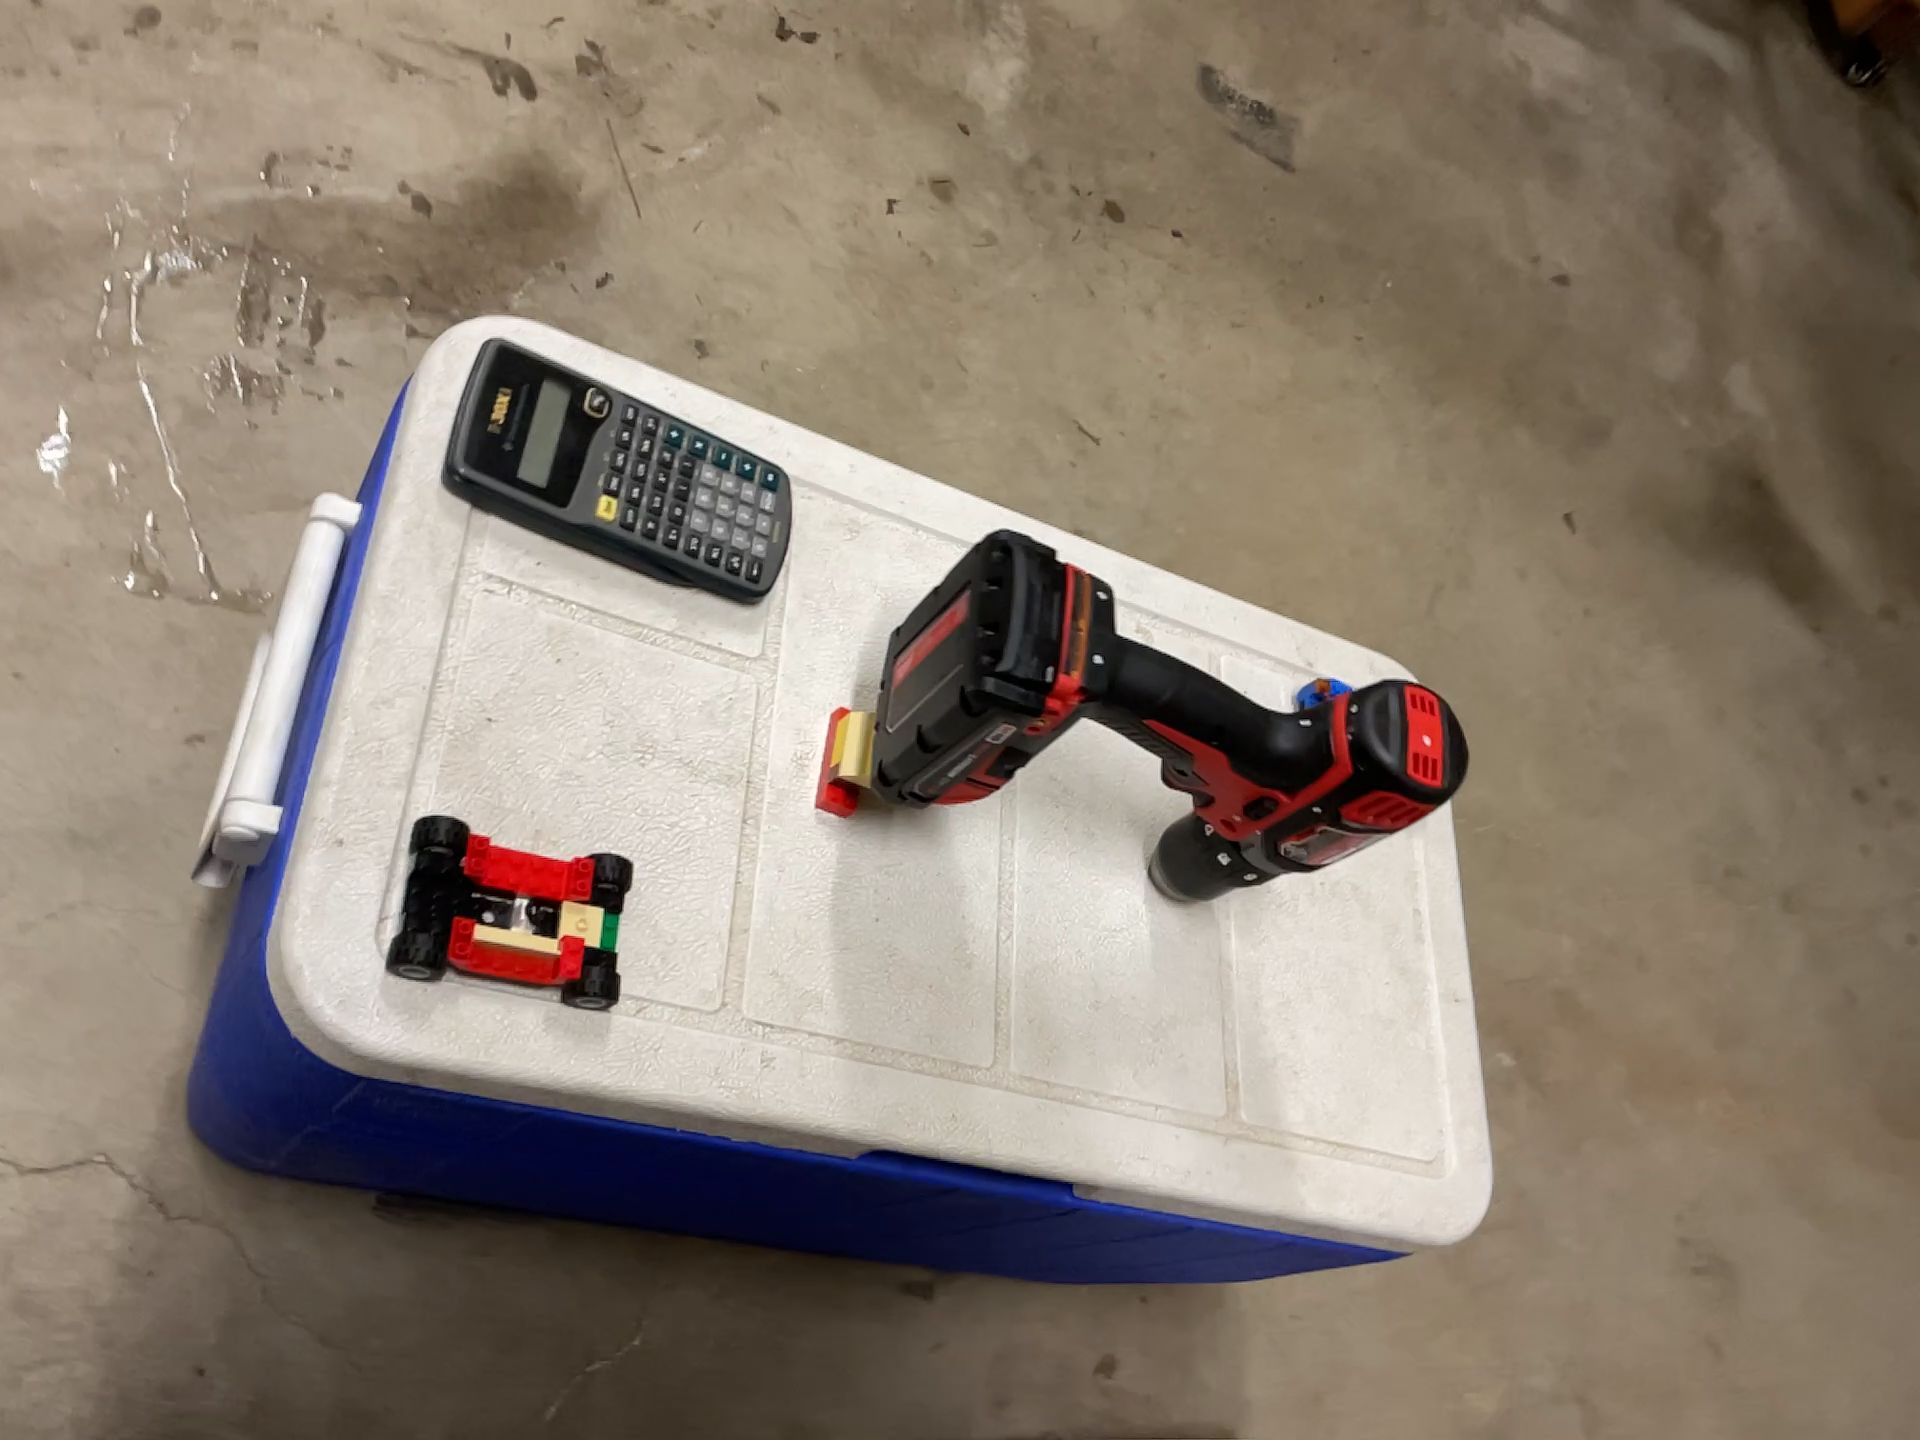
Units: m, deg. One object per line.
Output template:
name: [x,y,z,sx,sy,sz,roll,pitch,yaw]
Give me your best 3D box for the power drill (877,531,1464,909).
power drill: [0.079,0.019,0.705,0.226,0.187,0.080,18,58,-20]
